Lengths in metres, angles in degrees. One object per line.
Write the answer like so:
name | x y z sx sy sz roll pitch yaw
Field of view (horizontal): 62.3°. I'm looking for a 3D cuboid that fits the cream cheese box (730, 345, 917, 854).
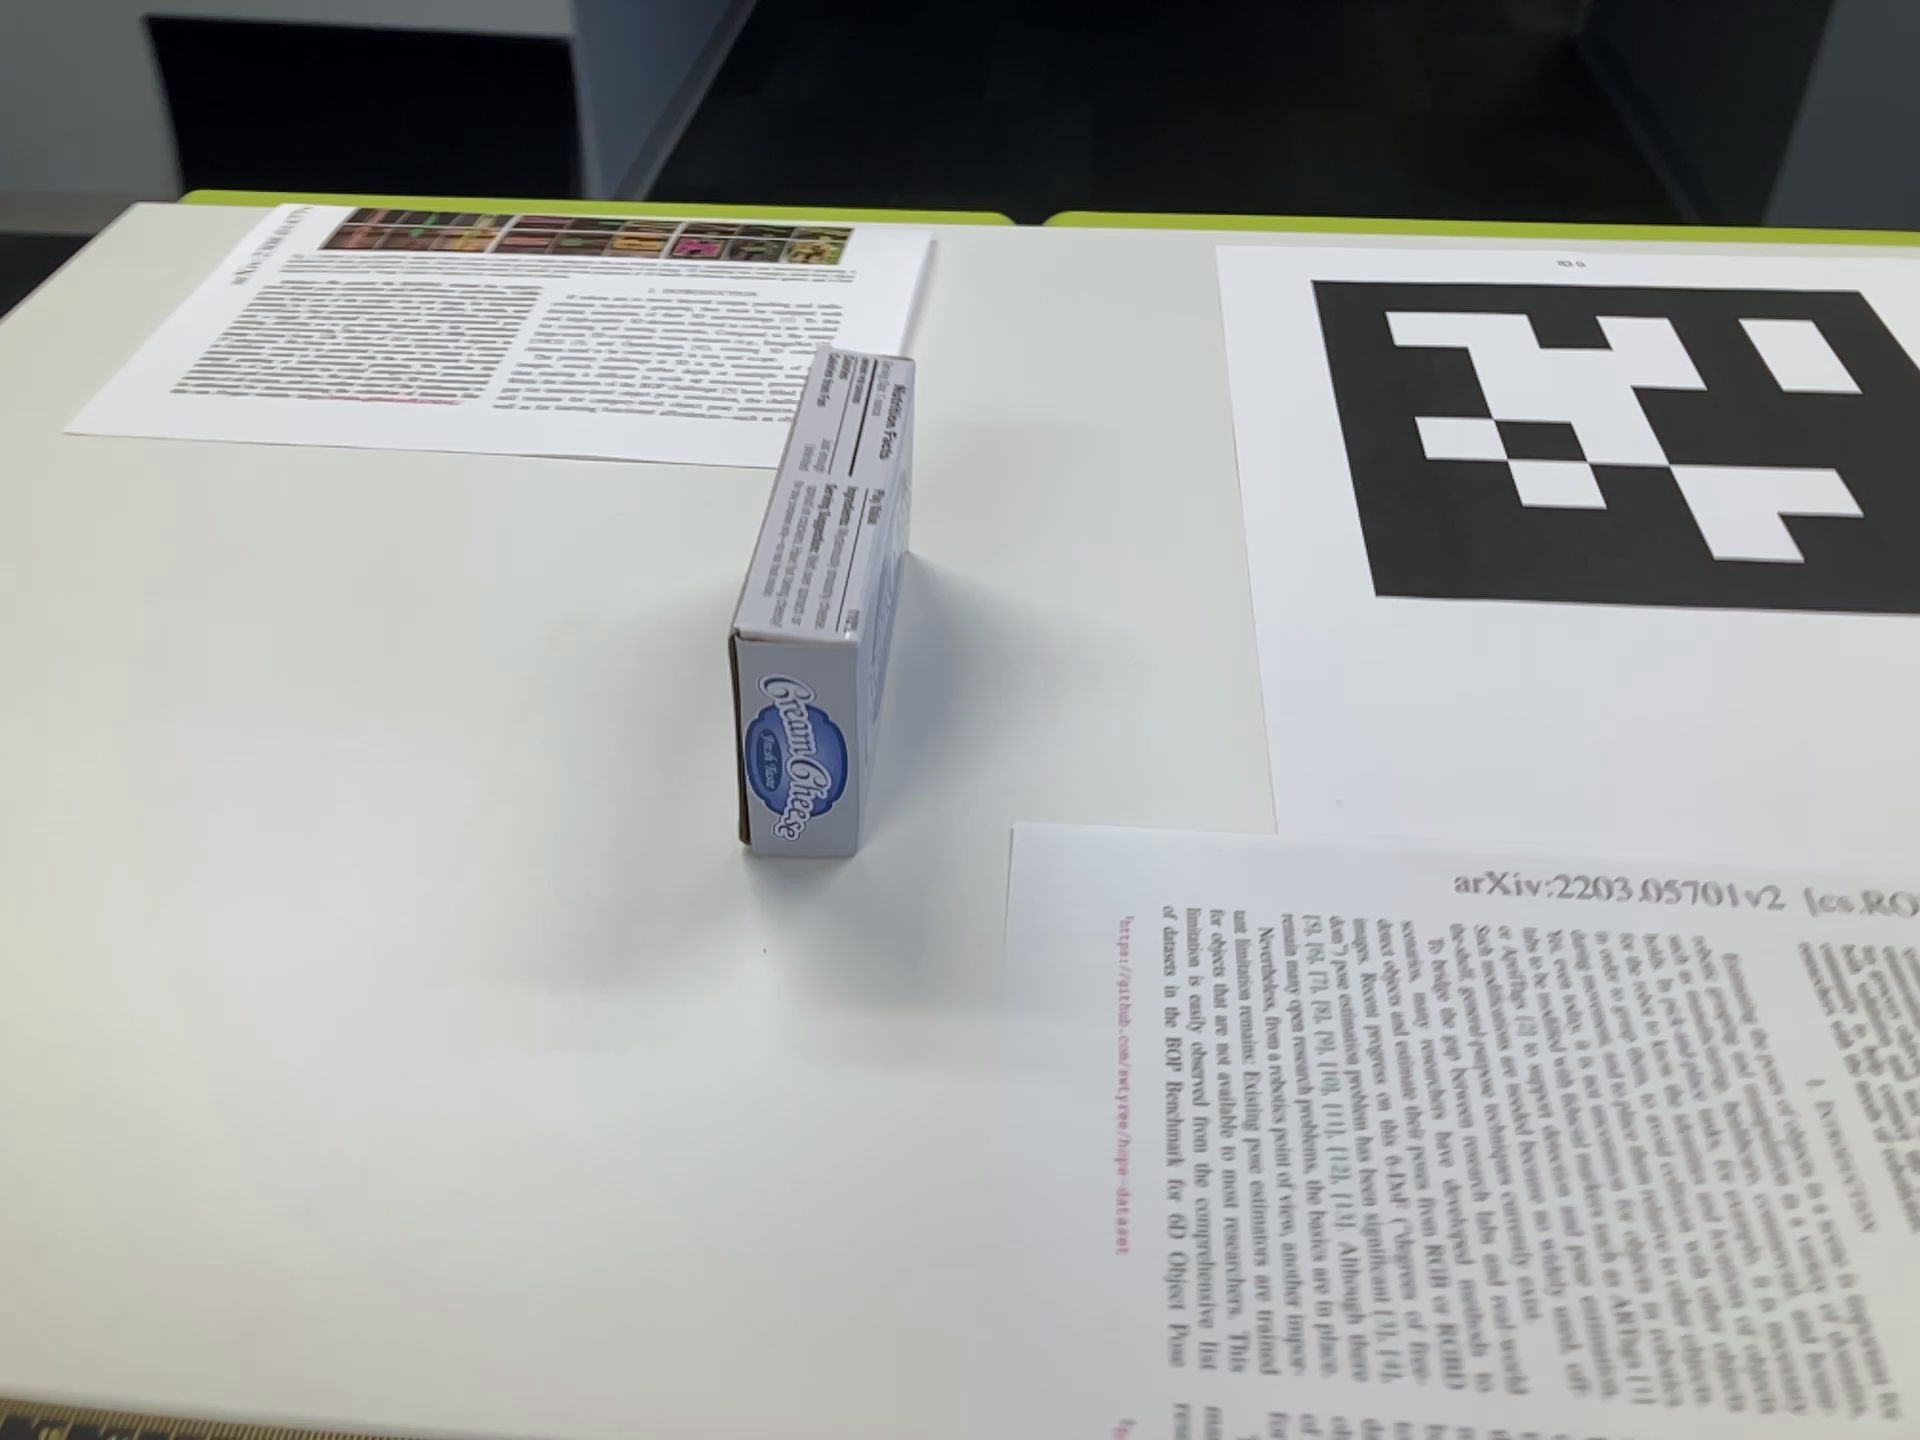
cream cheese box | -0.026 -0.028 0.323 0.024 0.053 0.104 4 41 2
